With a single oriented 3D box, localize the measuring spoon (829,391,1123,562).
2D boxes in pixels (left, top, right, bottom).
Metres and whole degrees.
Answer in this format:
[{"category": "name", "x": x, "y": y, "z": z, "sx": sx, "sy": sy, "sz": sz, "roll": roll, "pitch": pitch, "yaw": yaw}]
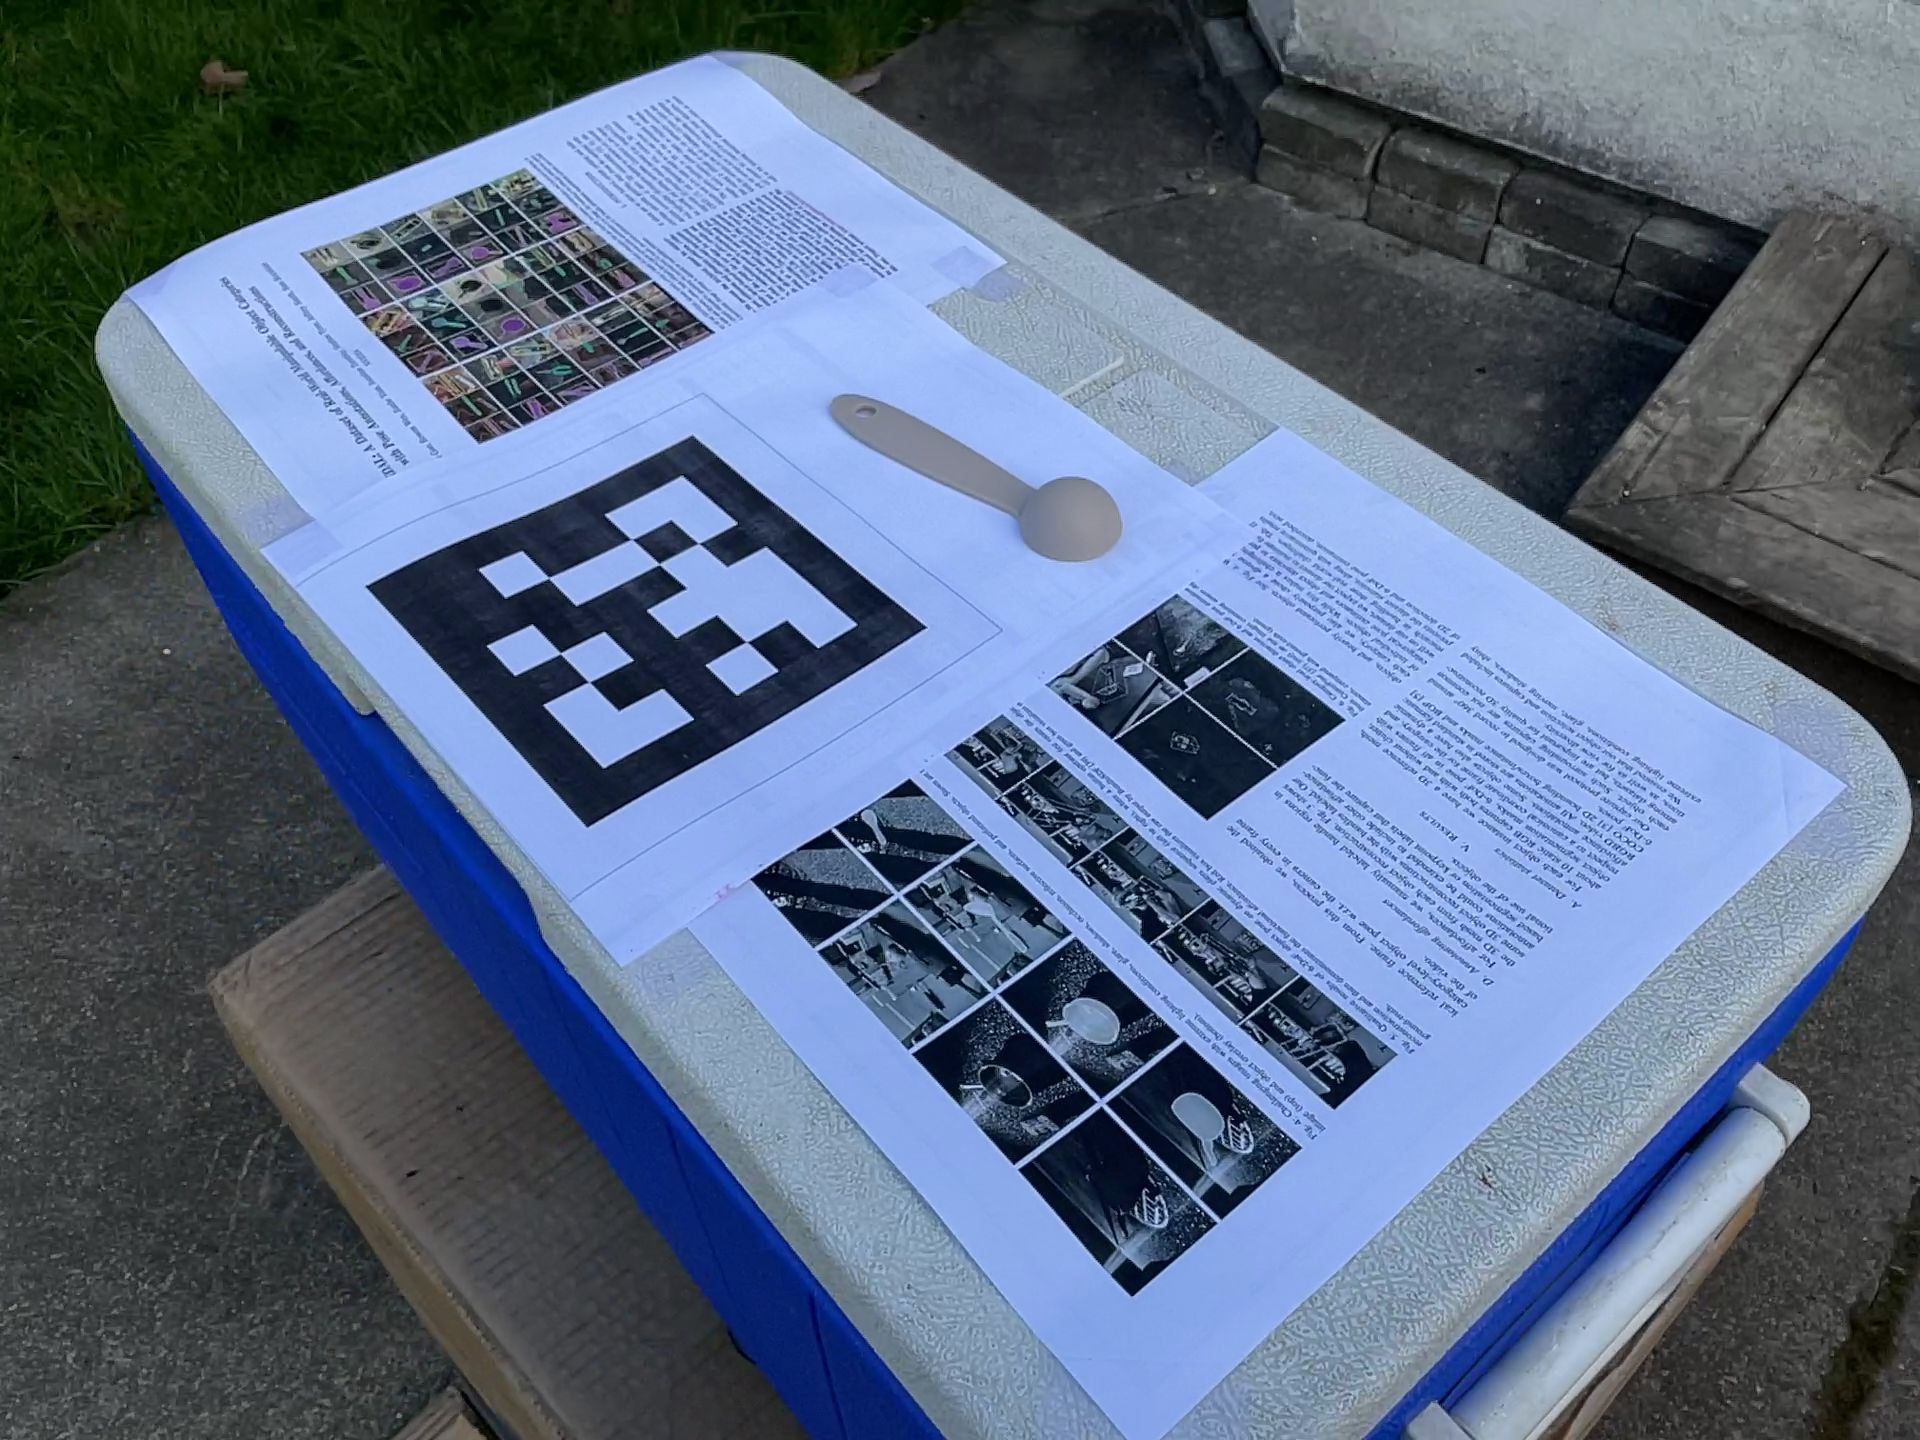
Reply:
[{"category": "measuring spoon", "x": 0.002, "y": -0.091, "z": 0.545, "sx": 0.124, "sy": 0.018, "sz": 0.034, "roll": 31, "pitch": 57, "yaw": 25}]
